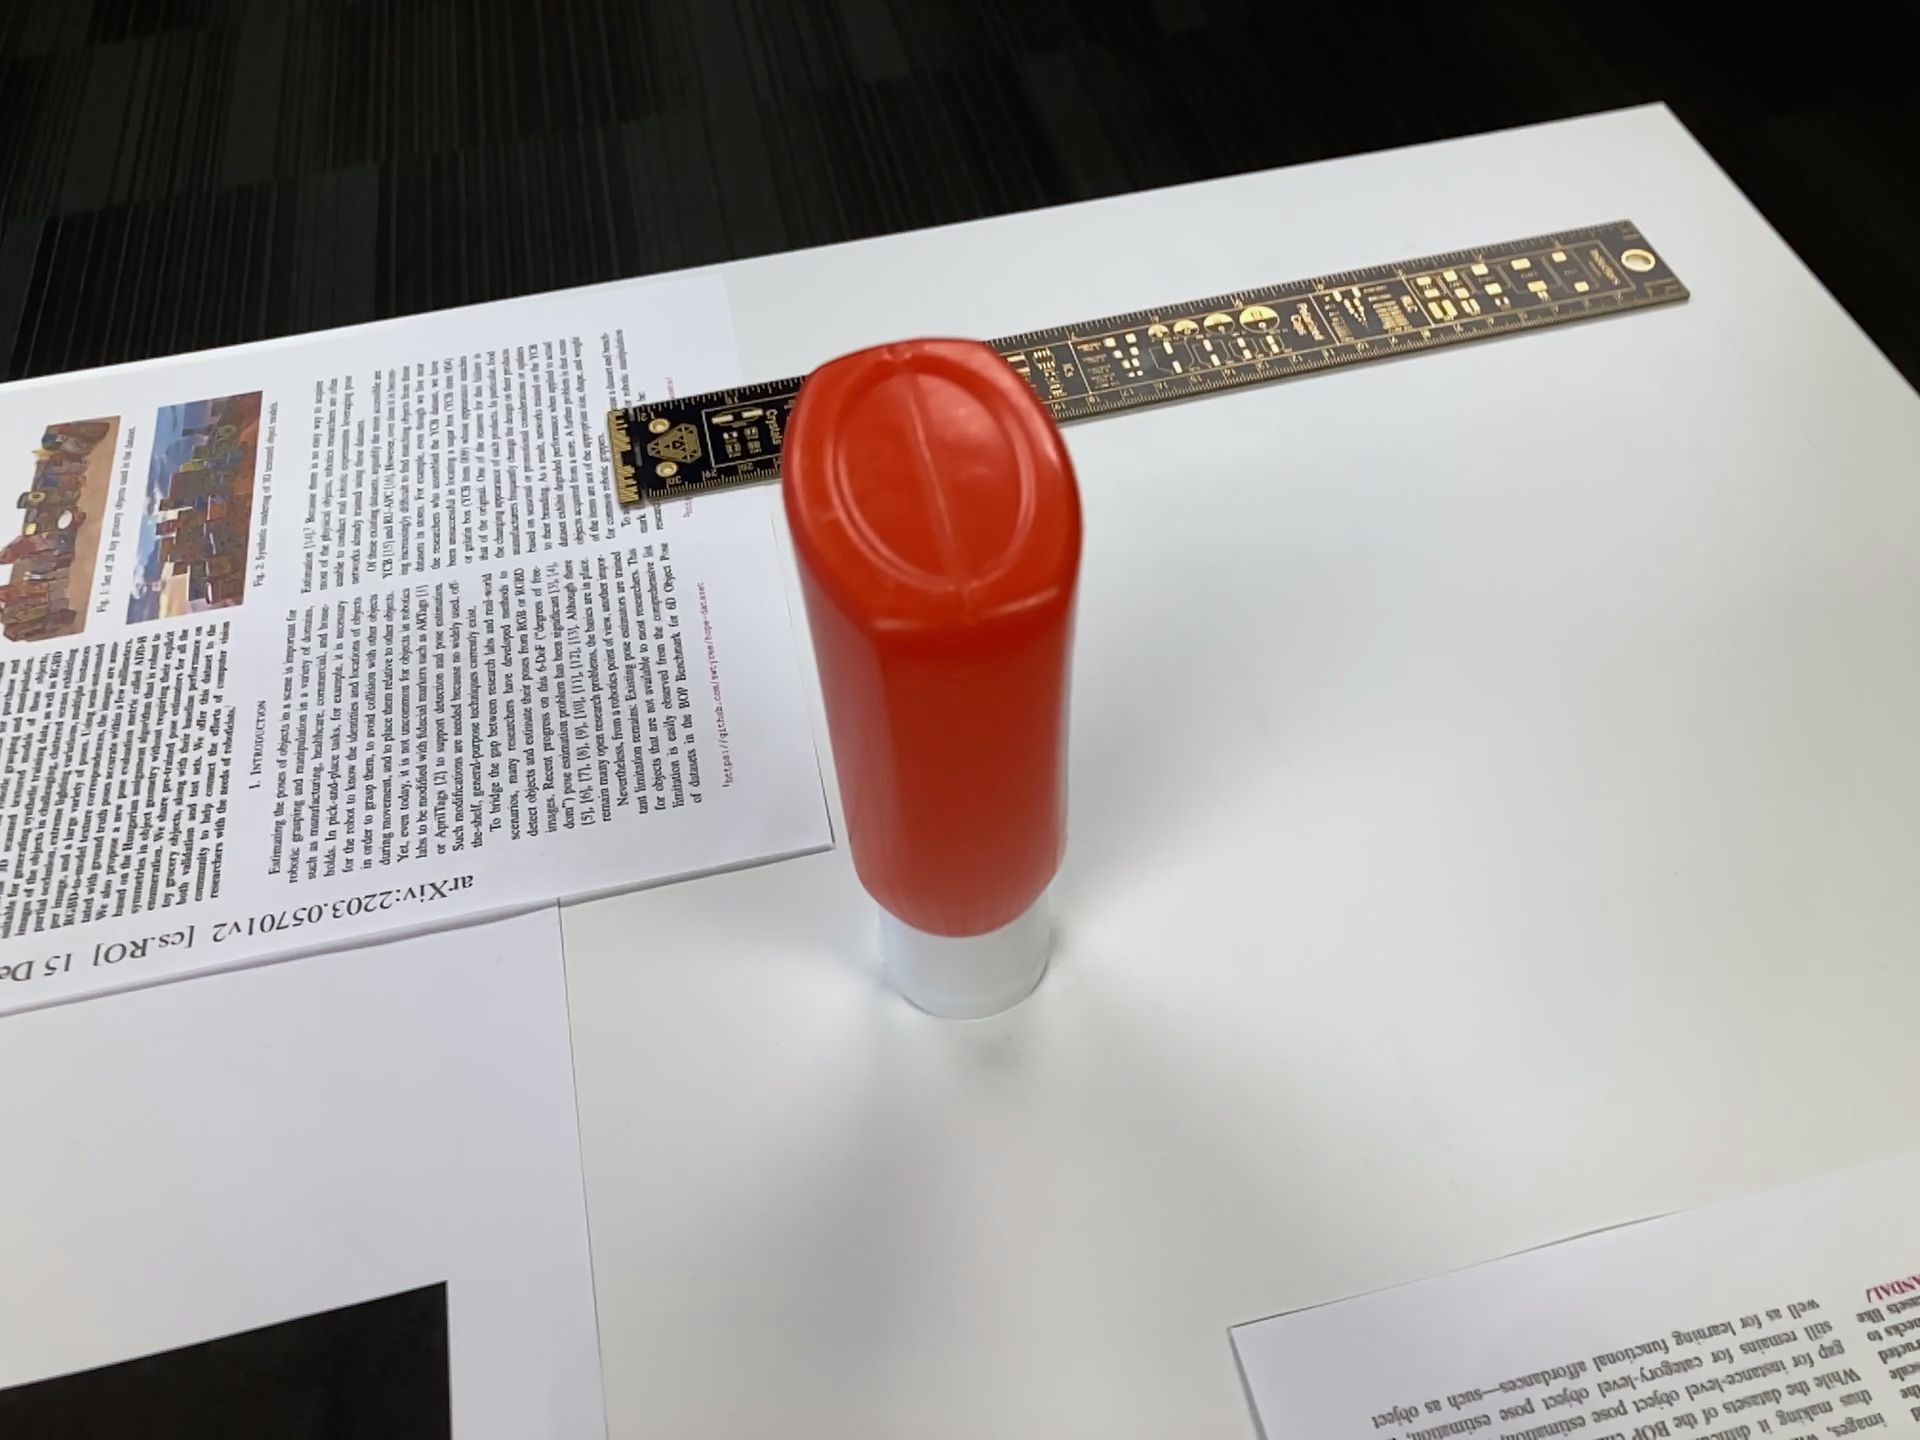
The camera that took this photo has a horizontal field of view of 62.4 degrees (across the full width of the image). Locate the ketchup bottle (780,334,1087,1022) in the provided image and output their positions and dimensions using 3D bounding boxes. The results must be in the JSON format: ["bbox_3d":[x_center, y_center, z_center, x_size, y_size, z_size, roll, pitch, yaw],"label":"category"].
[{"bbox_3d":[-0.002,0.006,0.288,0.043,0.149,0.065,-10,54,-5],"label":"ketchup bottle"}]
